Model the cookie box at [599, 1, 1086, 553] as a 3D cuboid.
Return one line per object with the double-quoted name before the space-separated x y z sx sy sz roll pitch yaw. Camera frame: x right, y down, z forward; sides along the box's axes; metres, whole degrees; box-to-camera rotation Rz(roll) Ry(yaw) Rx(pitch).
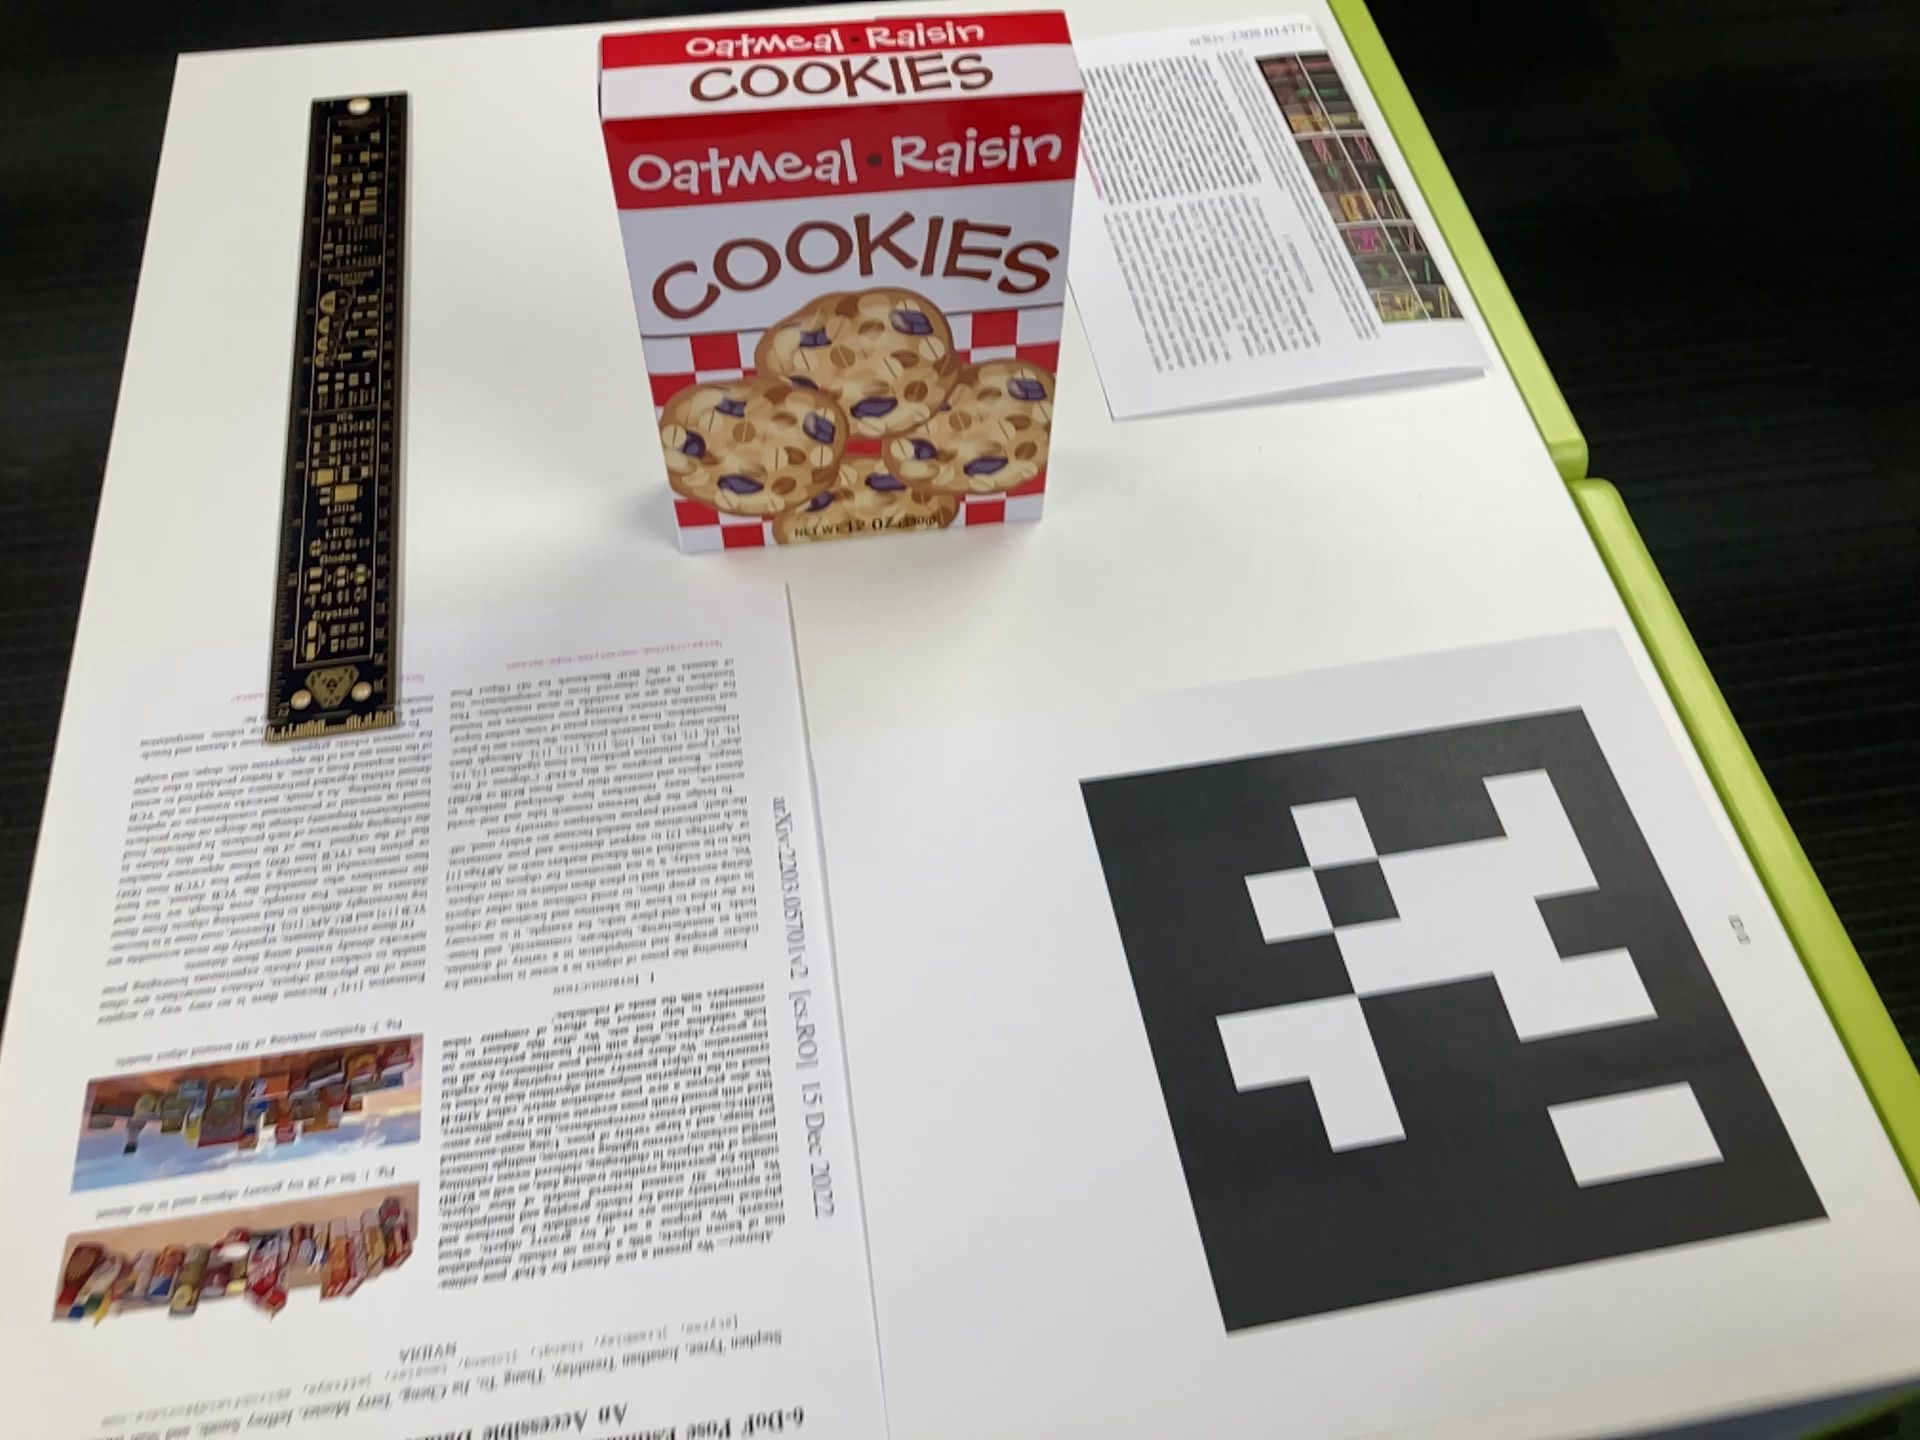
"cookie box" -0.032 -0.124 0.471 0.123 0.167 0.040 -6 57 -5
